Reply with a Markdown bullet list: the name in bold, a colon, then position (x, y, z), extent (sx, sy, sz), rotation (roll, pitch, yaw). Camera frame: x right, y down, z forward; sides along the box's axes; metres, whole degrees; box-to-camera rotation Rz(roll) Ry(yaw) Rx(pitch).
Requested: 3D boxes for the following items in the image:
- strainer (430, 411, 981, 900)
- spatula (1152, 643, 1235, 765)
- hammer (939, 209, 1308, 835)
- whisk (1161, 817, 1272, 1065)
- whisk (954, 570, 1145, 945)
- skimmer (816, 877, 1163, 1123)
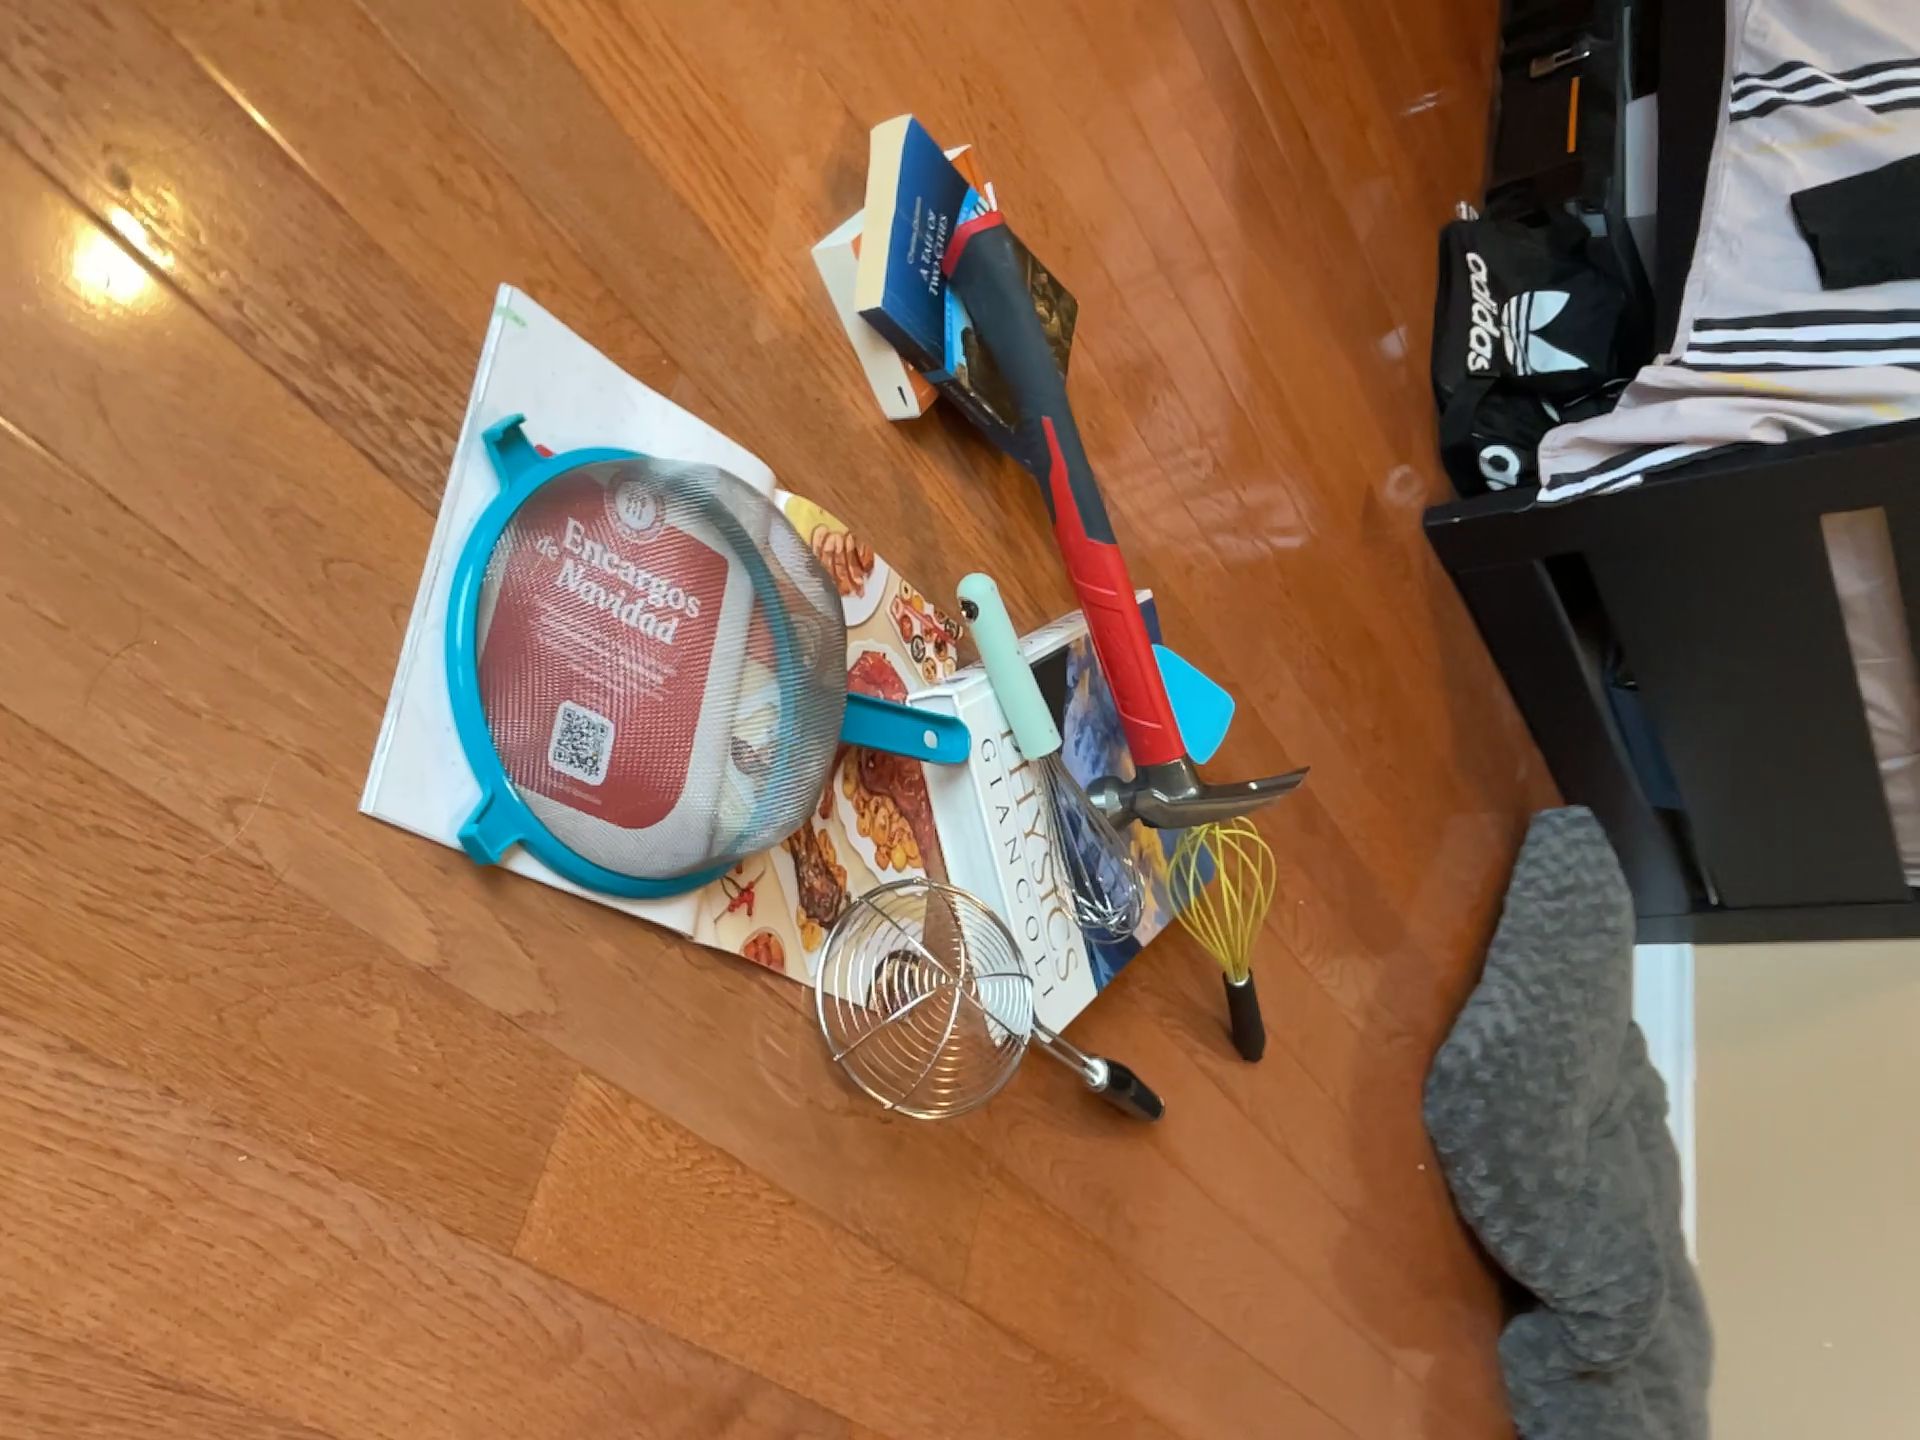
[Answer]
- **strainer**: position (-0.077, -0.018, 0.757), extent (0.340, 0.095, 0.211), rotation (14, 71, -48)
- **spatula**: position (0.103, -0.118, 1.047), extent (0.082, 0.044, 0.317), rotation (-51, 125, -46)
- **hammer**: position (0.086, -0.115, 0.950), extent (0.038, 0.143, 0.386), rotation (-41, 115, -56)
- **whisk**: position (0.198, 0.171, 1.159), extent (0.311, 0.067, 0.080), rotation (68, 18, -46)
- **whisk**: position (0.051, 0.024, 0.946), extent (0.059, 0.057, 0.246), rotation (-29, 105, -23)
- **skimmer**: position (0.034, 0.198, 0.960), extent (0.363, 0.090, 0.127), rotation (46, 44, -57)
